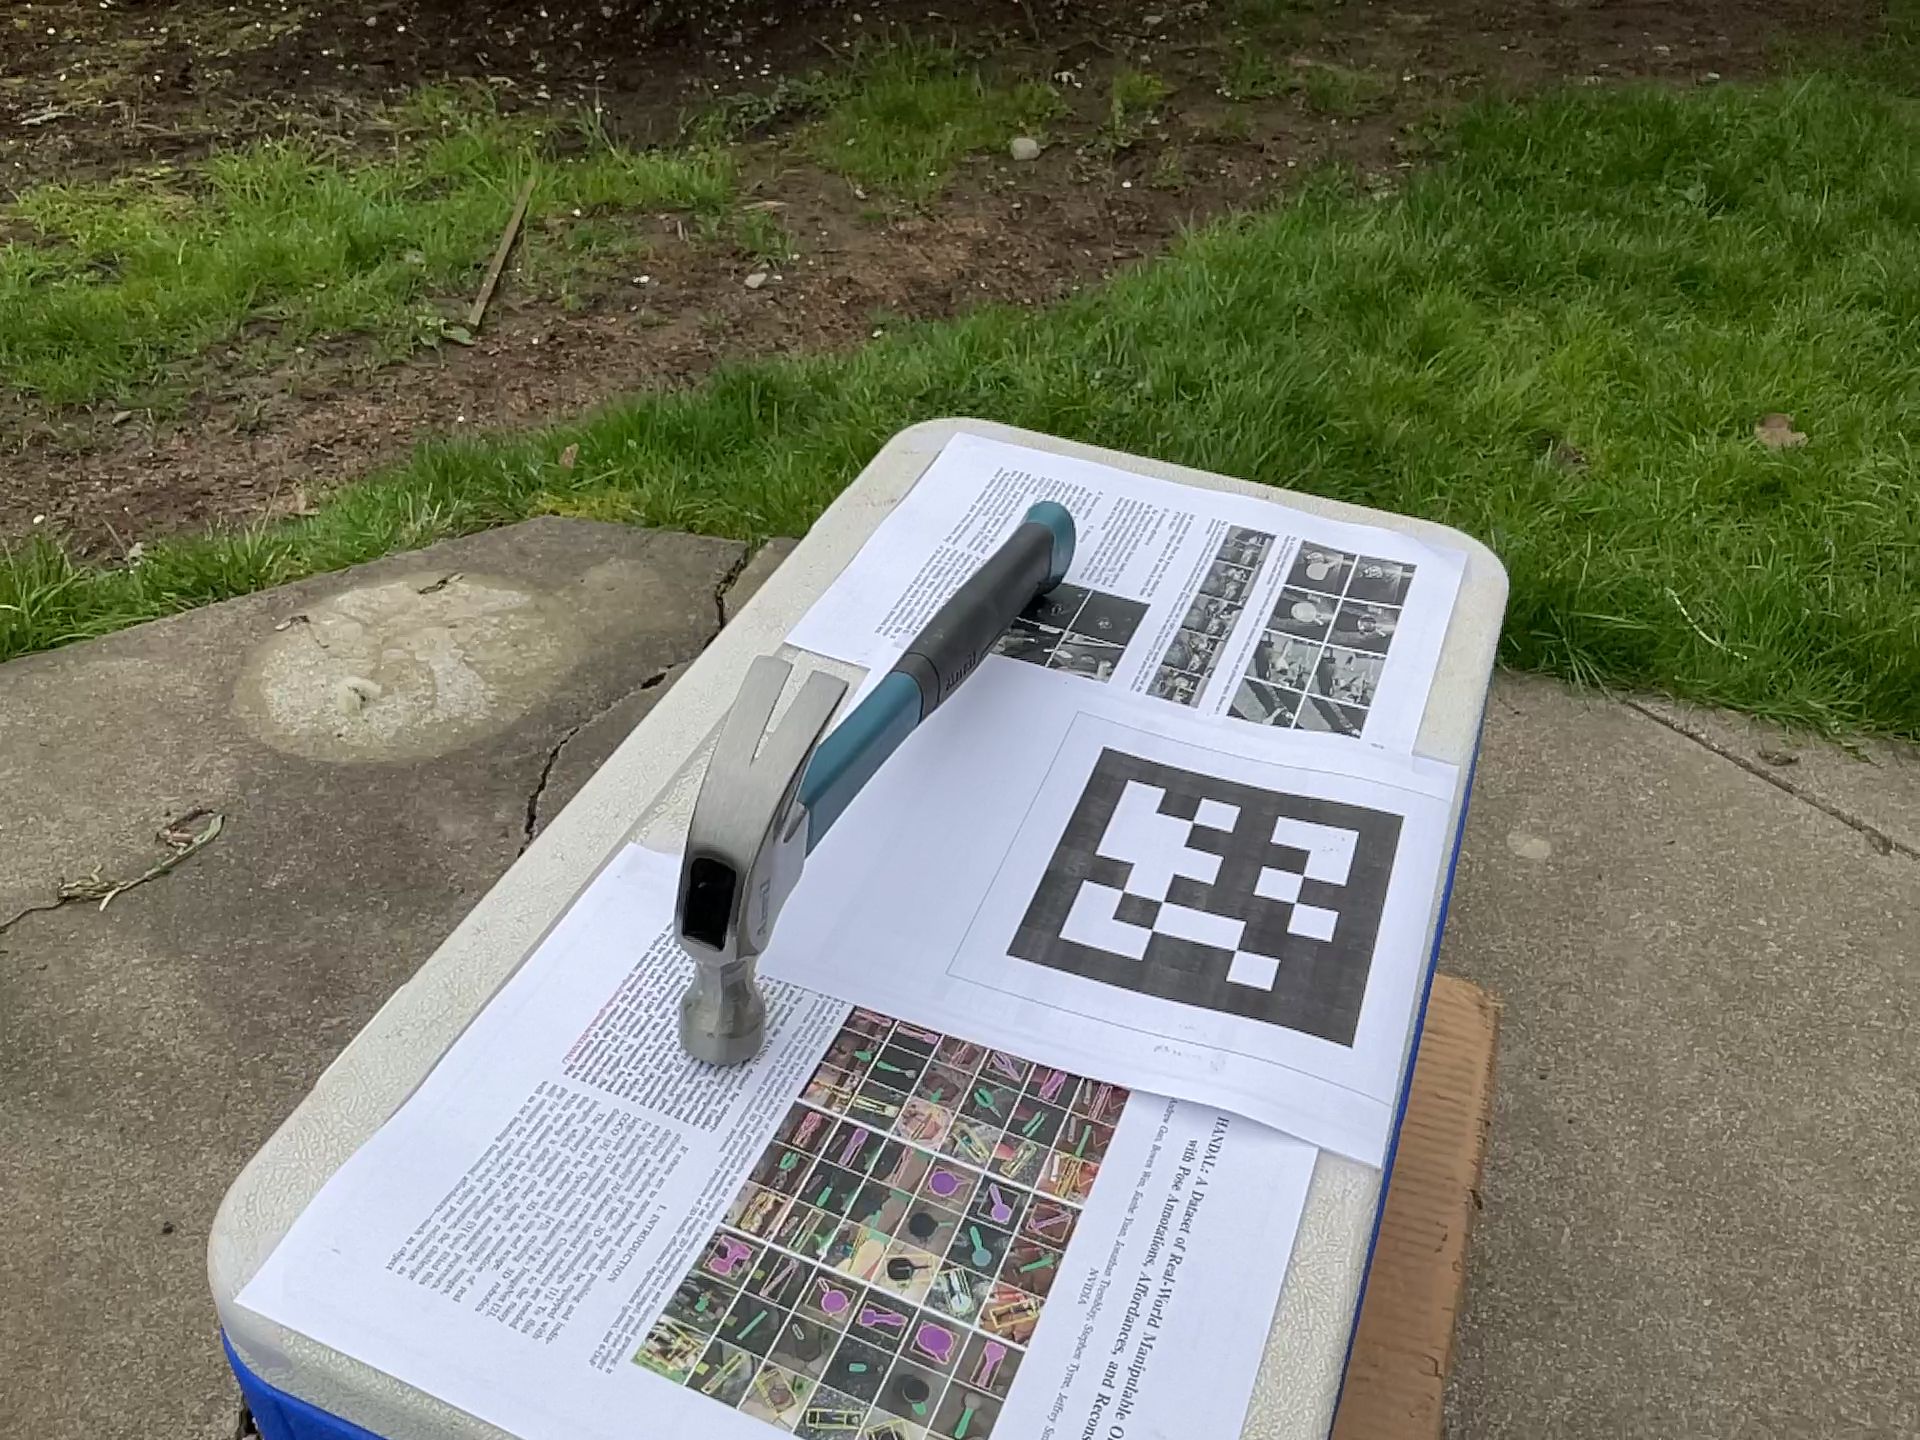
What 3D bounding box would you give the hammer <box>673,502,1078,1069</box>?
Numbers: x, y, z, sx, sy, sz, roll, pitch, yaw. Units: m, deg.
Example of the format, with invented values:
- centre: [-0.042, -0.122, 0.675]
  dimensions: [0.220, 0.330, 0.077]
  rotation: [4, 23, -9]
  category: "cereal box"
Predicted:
- centre: [-0.019, -0.011, 0.635]
  dimensions: [0.033, 0.128, 0.331]
  rotation: [18, 33, 15]
  category: "hammer"
